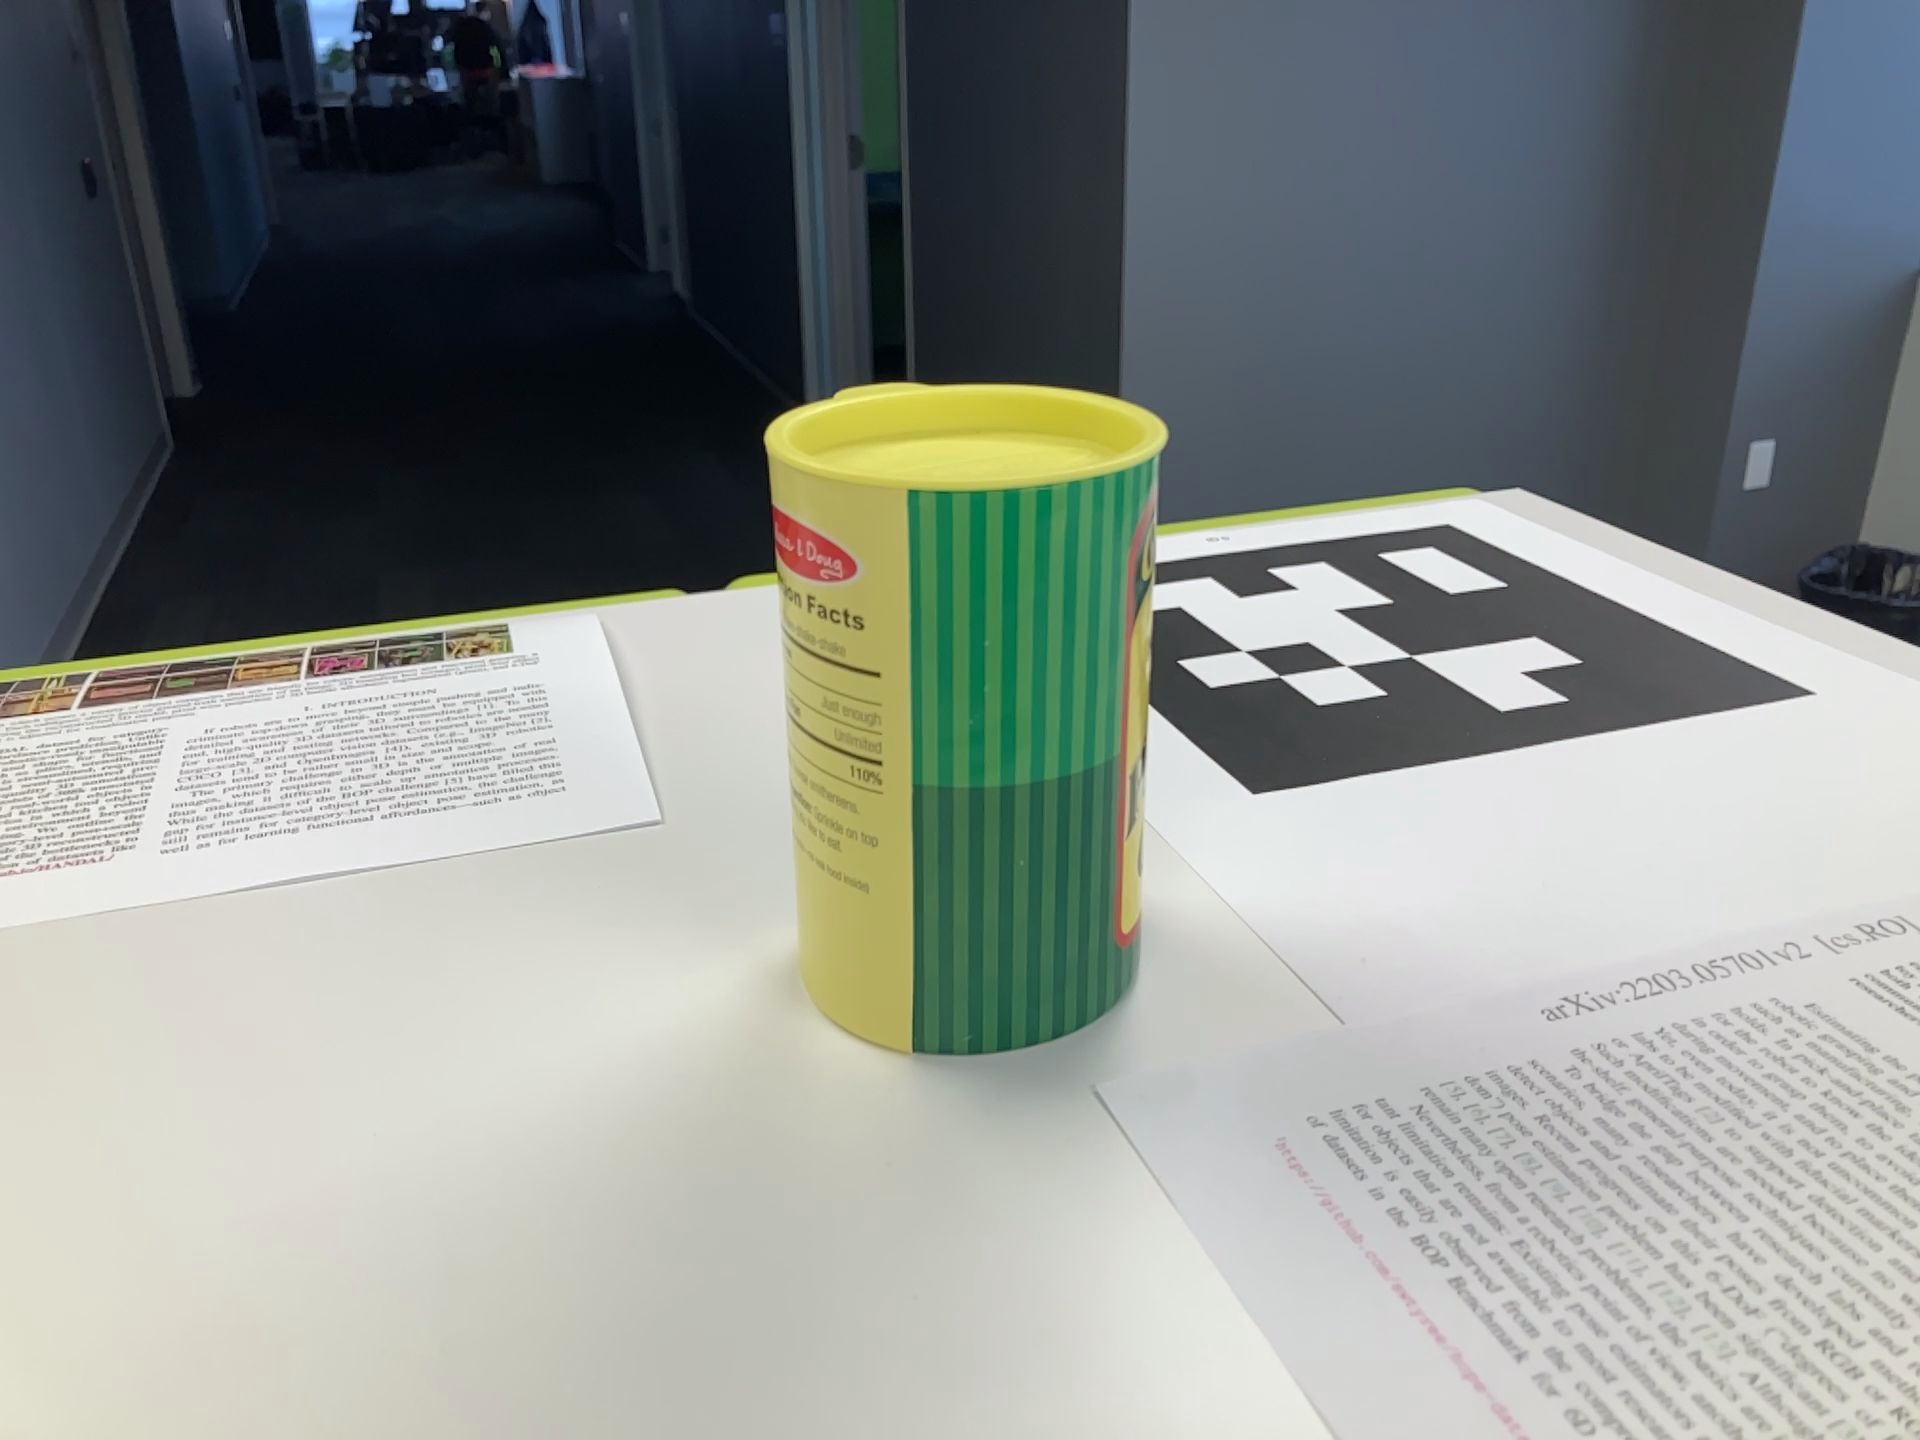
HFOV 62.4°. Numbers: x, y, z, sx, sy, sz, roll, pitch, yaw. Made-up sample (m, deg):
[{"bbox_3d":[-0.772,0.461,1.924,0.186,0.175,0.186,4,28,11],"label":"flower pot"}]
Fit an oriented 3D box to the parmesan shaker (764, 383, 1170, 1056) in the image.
[{"bbox_3d":[0.001,-0.003,0.284,0.071,0.103,0.071,-1,24,0],"label":"parmesan shaker"}]
